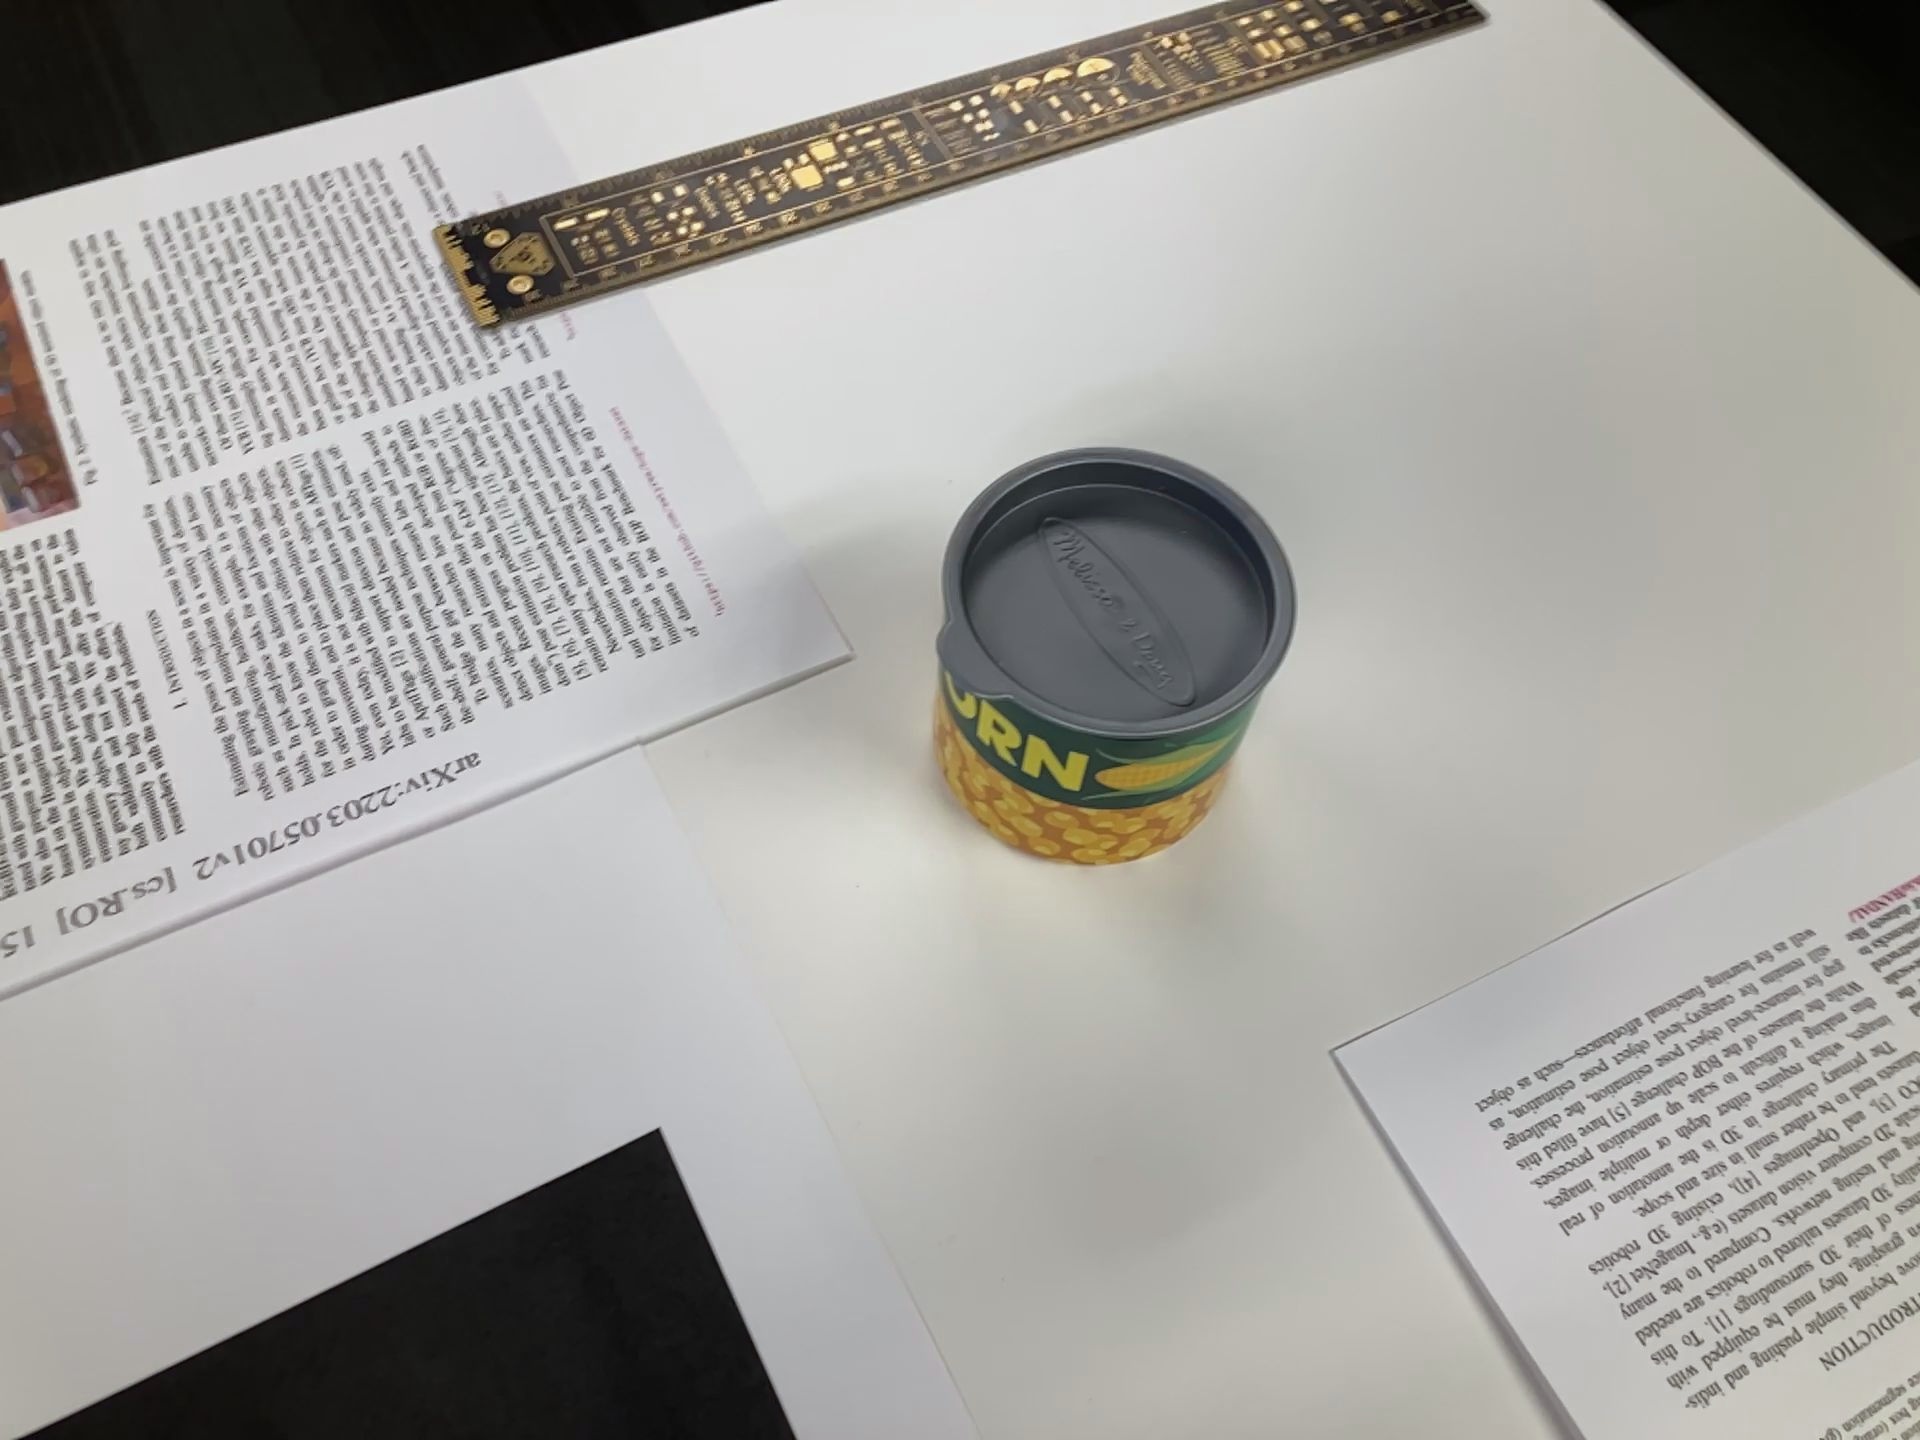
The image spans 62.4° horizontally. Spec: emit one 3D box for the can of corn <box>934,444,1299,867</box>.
[{"bbox_3d":[0.026,-0.010,0.319,0.071,0.058,0.071,2,60,-3],"label":"can of corn"}]
